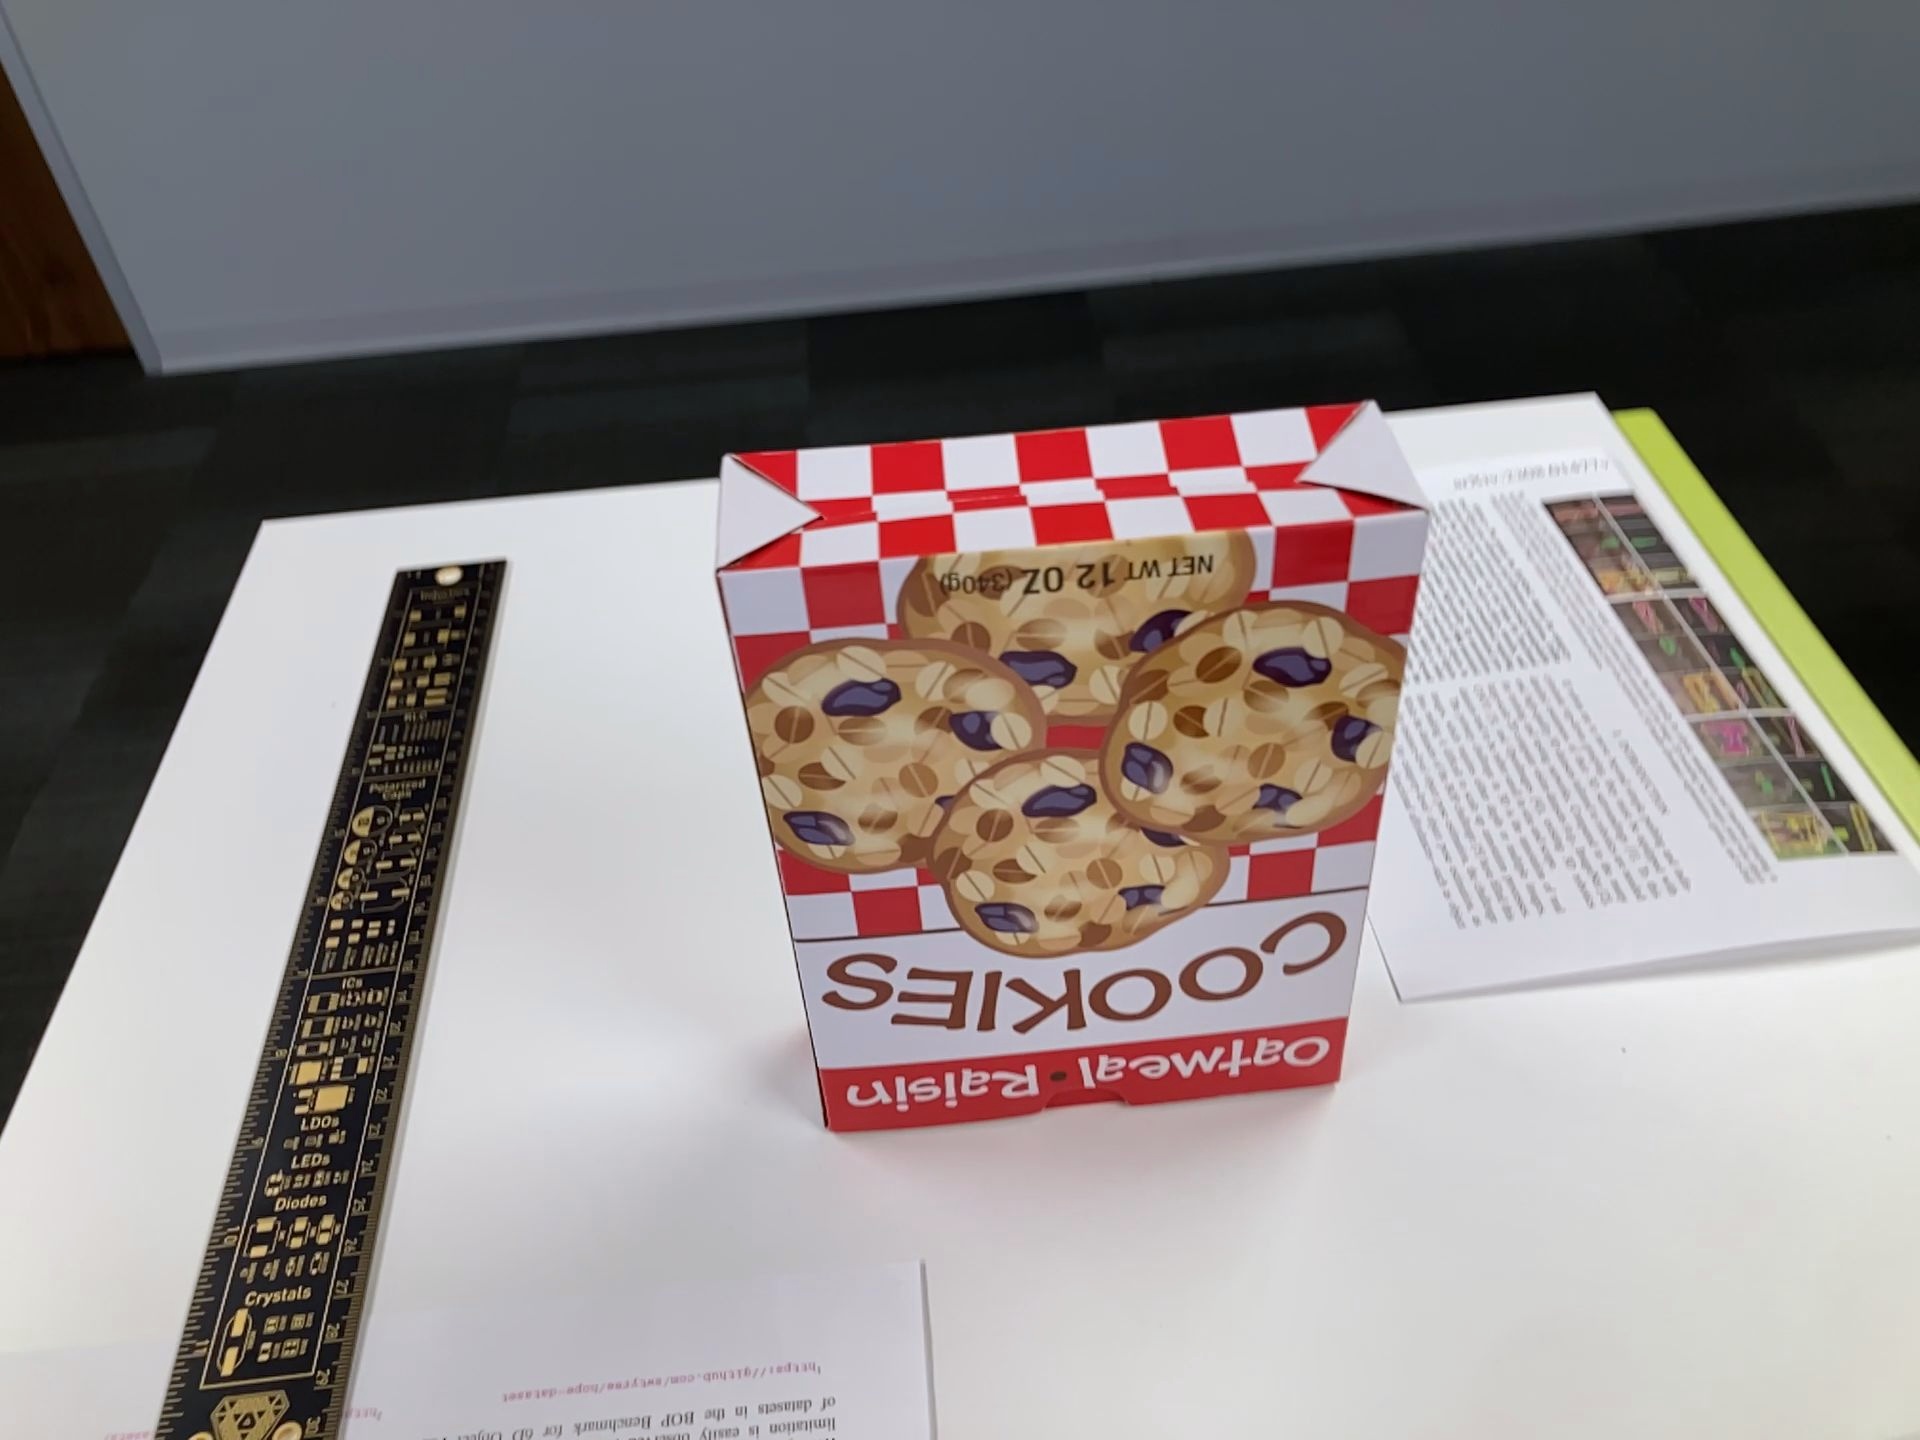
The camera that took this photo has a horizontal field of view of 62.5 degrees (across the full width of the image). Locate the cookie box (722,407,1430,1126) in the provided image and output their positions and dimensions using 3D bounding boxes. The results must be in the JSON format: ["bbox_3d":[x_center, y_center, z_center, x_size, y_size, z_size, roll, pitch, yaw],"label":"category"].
[{"bbox_3d":[0.023,0.020,0.338,0.123,0.167,0.040,-5,42,-1],"label":"cookie box"}]
